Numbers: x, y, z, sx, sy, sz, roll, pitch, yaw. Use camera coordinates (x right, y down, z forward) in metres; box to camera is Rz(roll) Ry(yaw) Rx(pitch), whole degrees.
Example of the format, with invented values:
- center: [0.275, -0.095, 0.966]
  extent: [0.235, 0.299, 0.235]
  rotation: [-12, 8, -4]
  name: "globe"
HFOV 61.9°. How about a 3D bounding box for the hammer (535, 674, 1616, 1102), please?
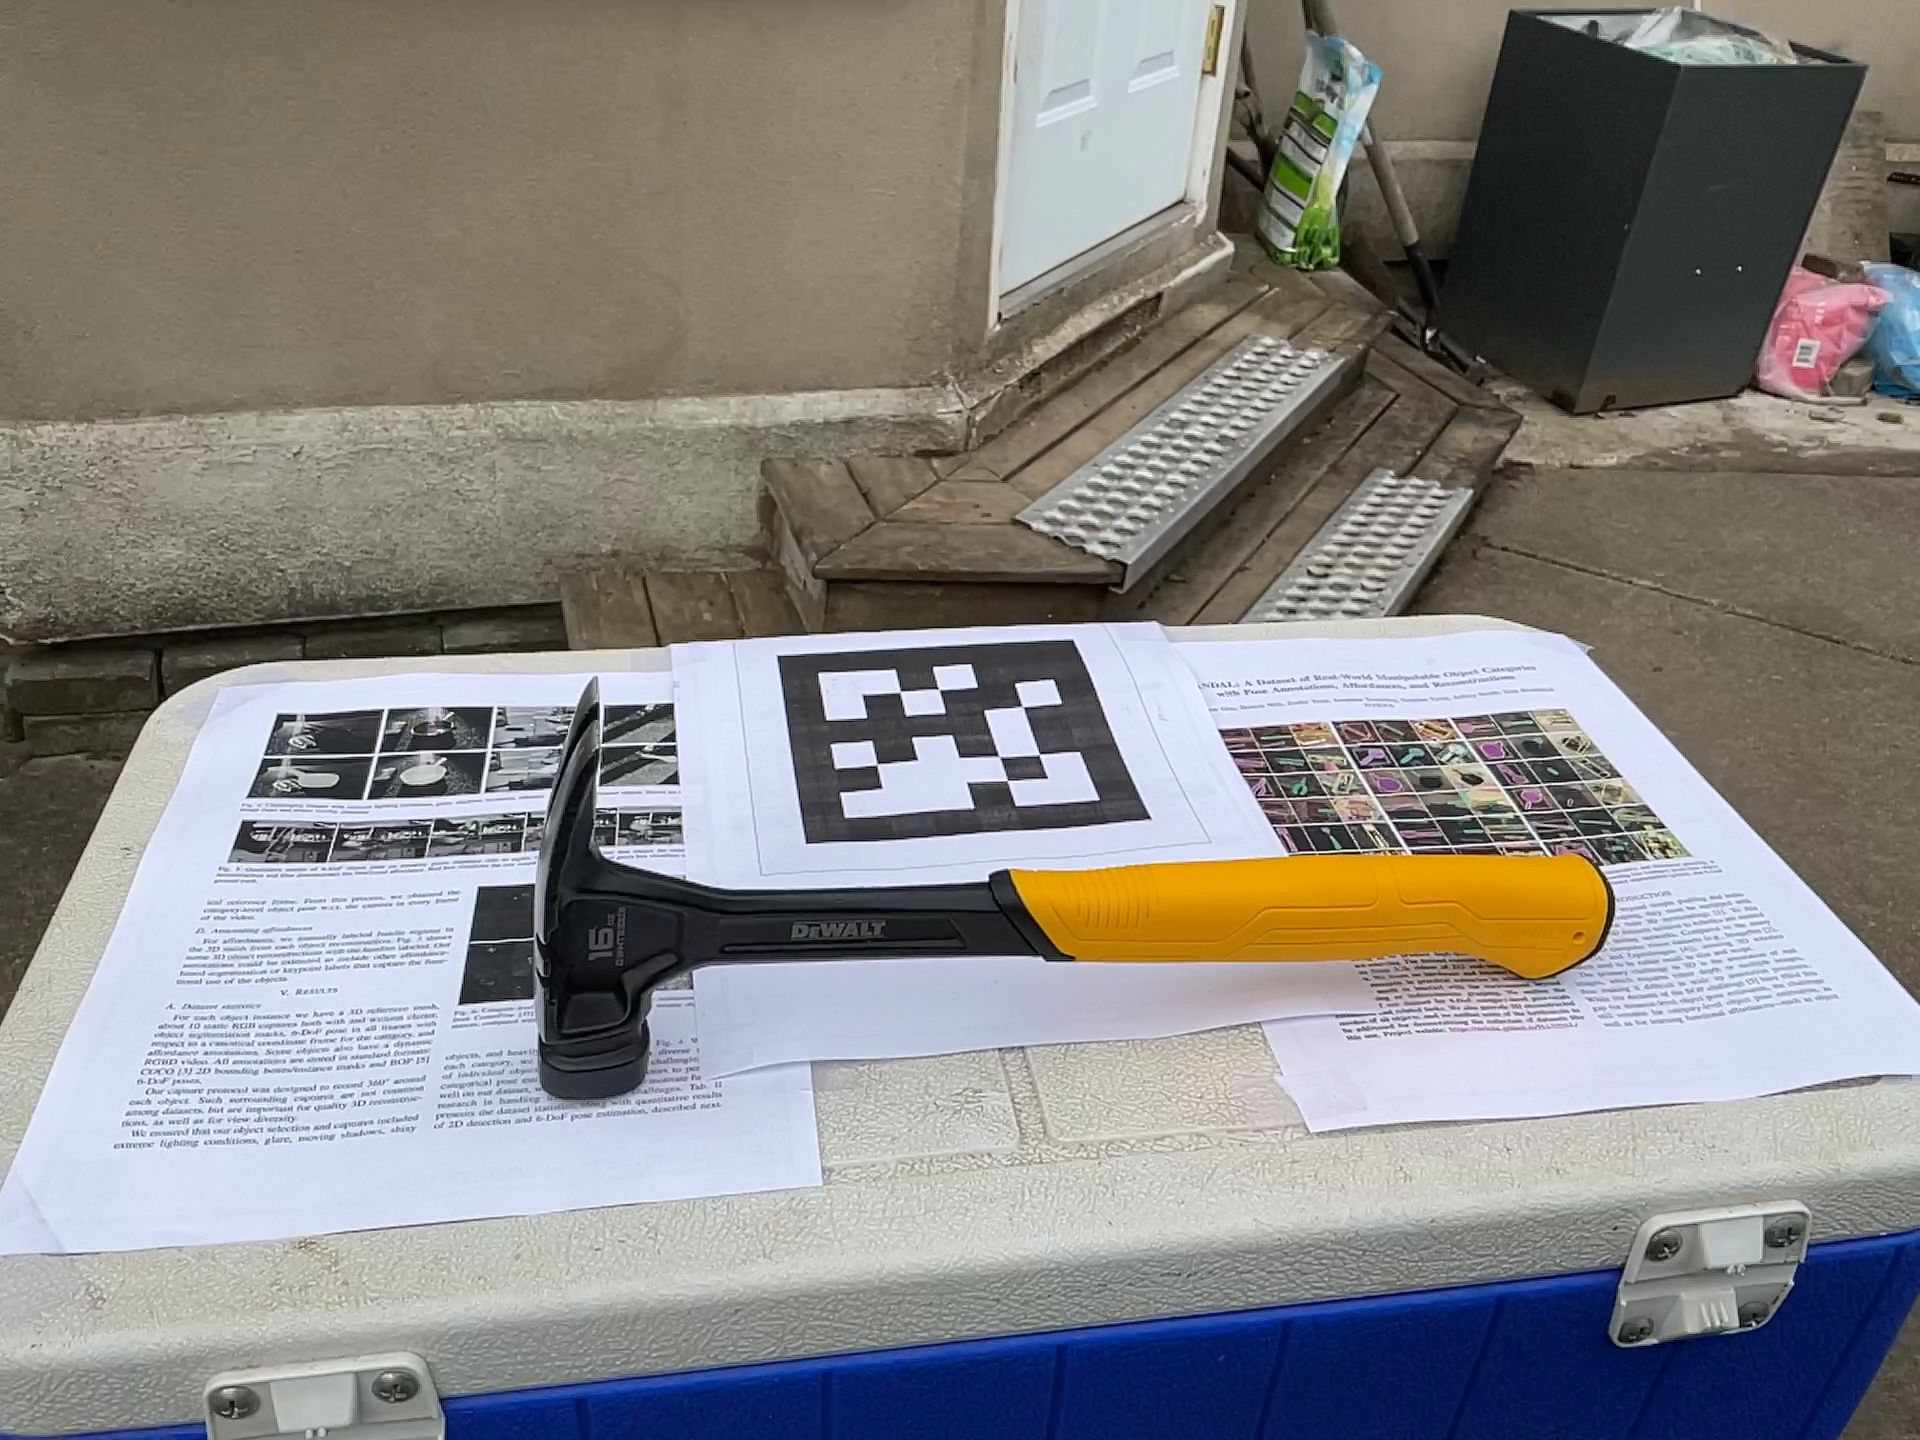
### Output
- center: [0.046, 0.053, 0.481]
  extent: [0.336, 0.127, 0.034]
  rotation: [1, 32, -14]
  name: "hammer"
